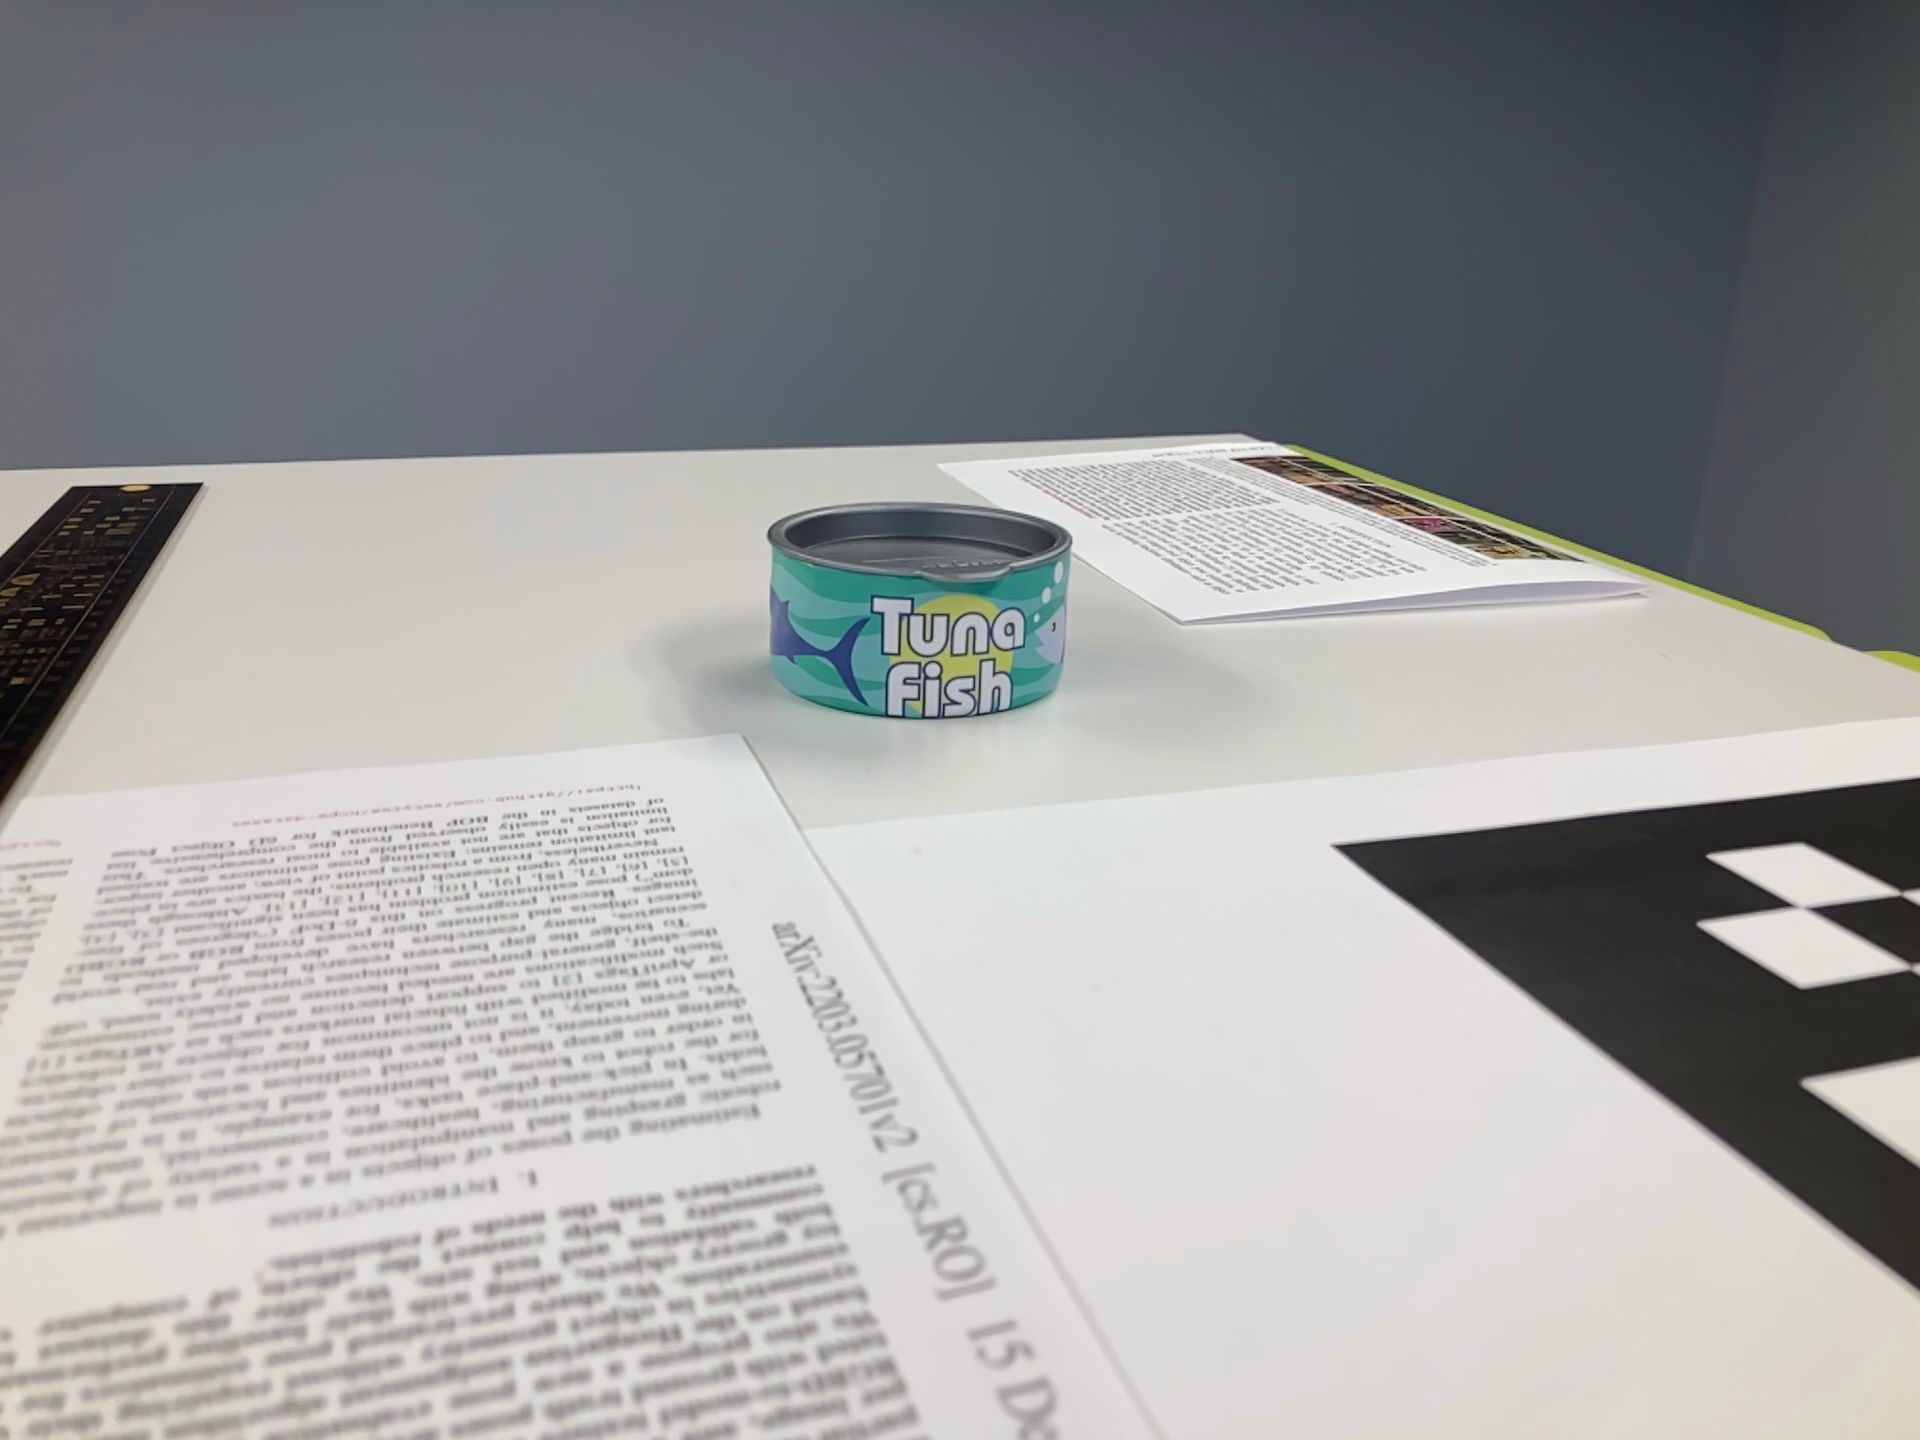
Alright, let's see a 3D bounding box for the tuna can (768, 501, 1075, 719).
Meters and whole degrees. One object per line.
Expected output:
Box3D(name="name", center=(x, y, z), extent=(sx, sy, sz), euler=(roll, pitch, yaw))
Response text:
Box3D(name="tuna can", center=(-0.008, -0.025, 0.345), extent=(0.071, 0.033, 0.071), euler=(2, 19, -1))
